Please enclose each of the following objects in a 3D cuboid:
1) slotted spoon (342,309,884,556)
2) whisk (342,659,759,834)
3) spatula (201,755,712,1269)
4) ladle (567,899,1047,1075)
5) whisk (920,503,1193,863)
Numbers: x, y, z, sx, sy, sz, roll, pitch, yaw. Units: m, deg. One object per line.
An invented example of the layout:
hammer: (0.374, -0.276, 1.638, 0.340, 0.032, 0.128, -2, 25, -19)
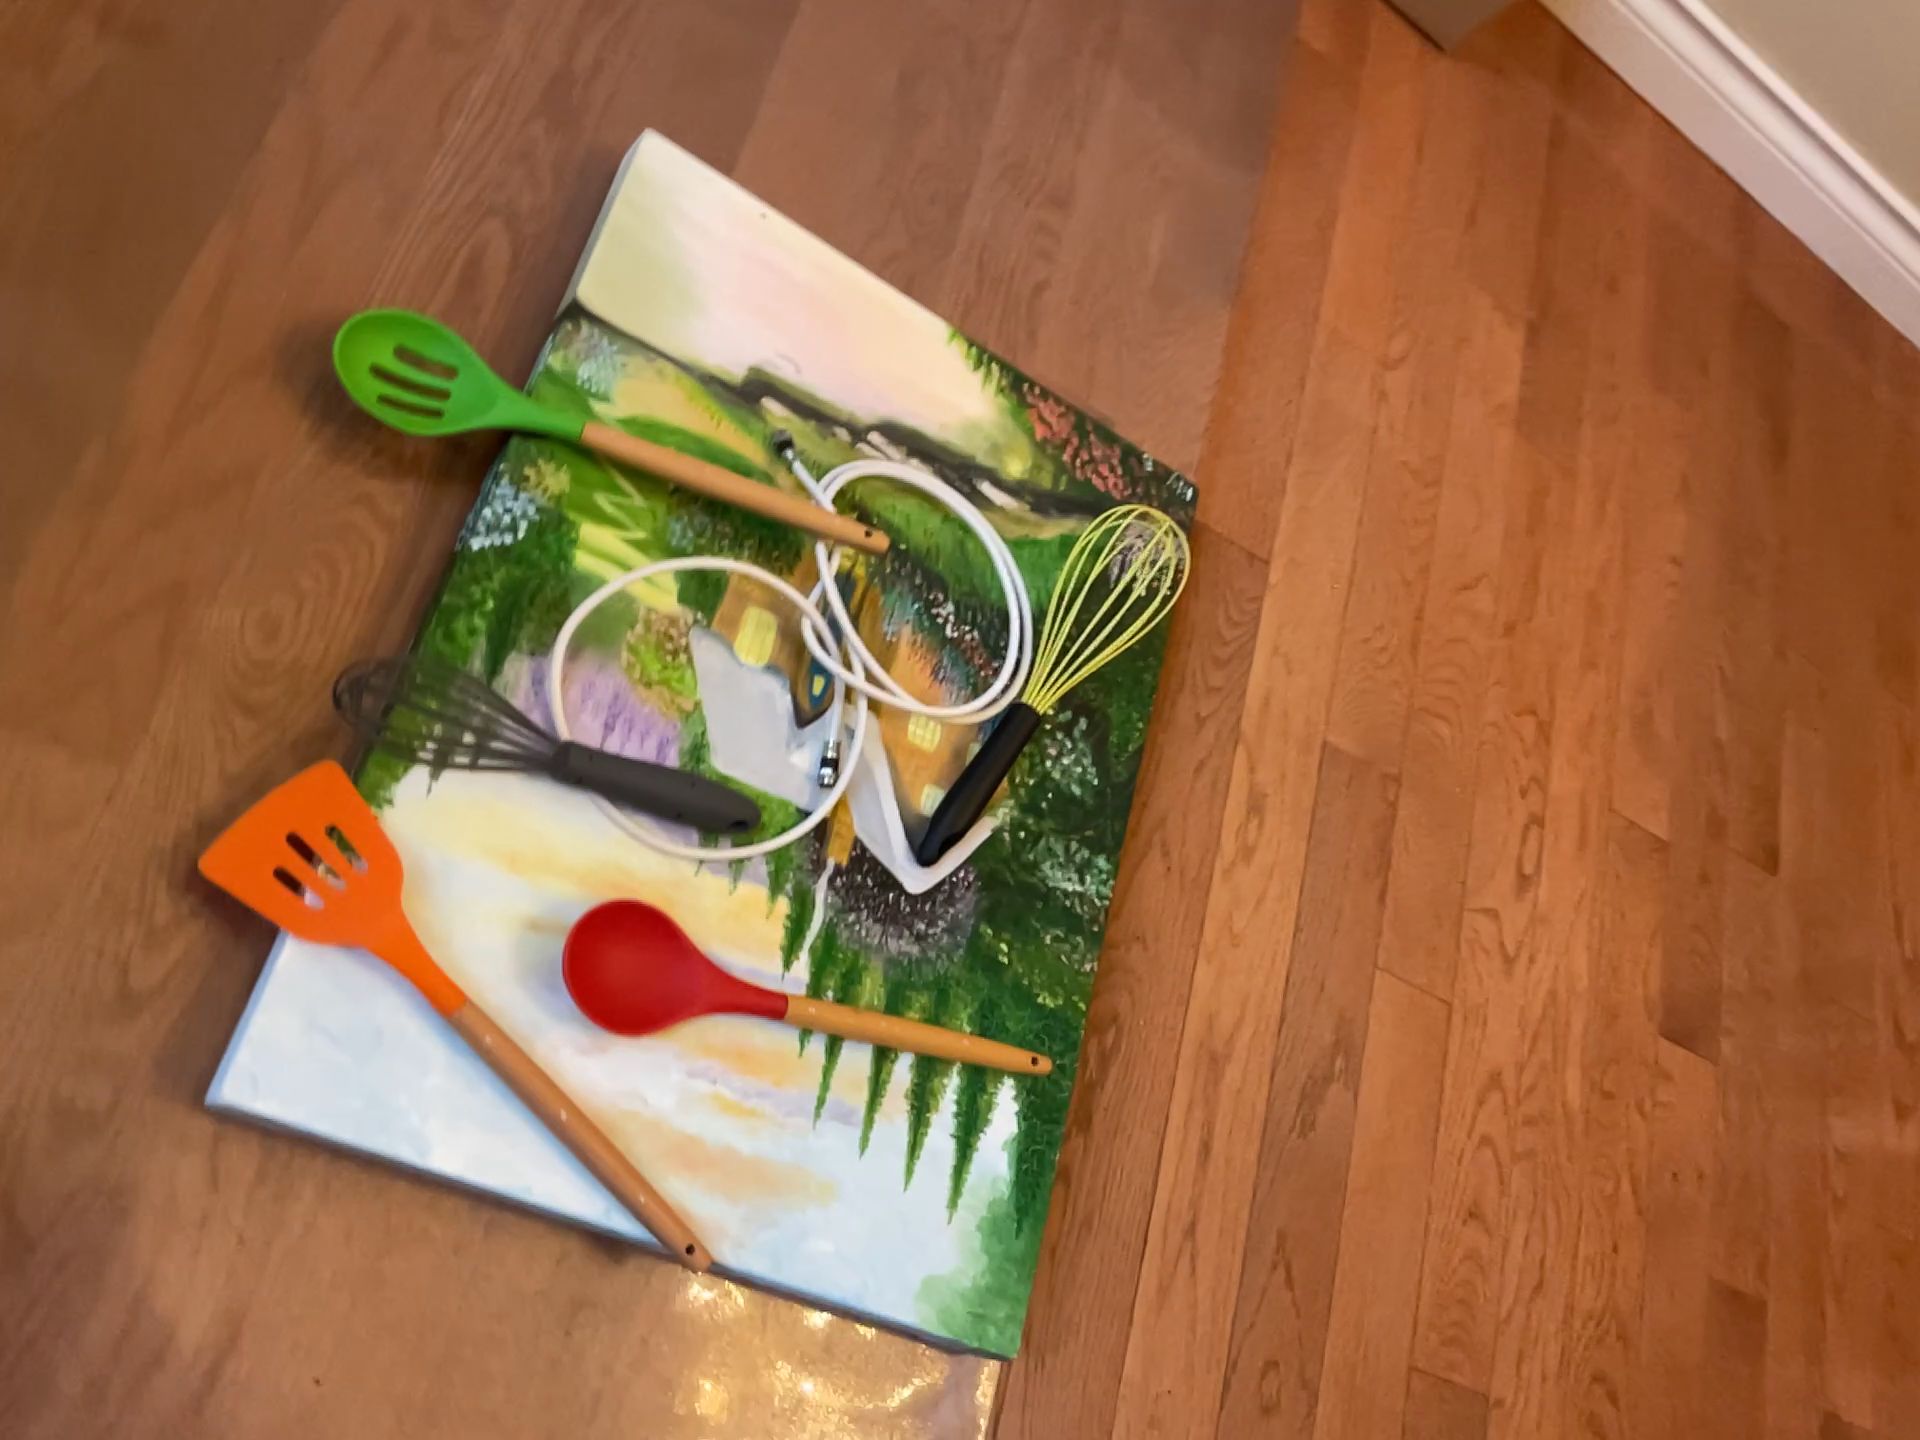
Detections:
slotted spoon: (-0.190, -0.152, 0.901, 0.313, 0.031, 0.070, 19, 65, -15)
whisk: (-0.206, 0.020, 0.834, 0.238, 0.055, 0.055, 22, 75, -34)
spatula: (-0.235, 0.158, 0.795, 0.081, 0.041, 0.322, -45, 104, -23)
ladle: (-0.077, 0.164, 0.889, 0.315, 0.031, 0.069, 20, 66, -31)
whisk: (0.058, -0.029, 1.026, 0.080, 0.067, 0.312, 41, 63, -11)
